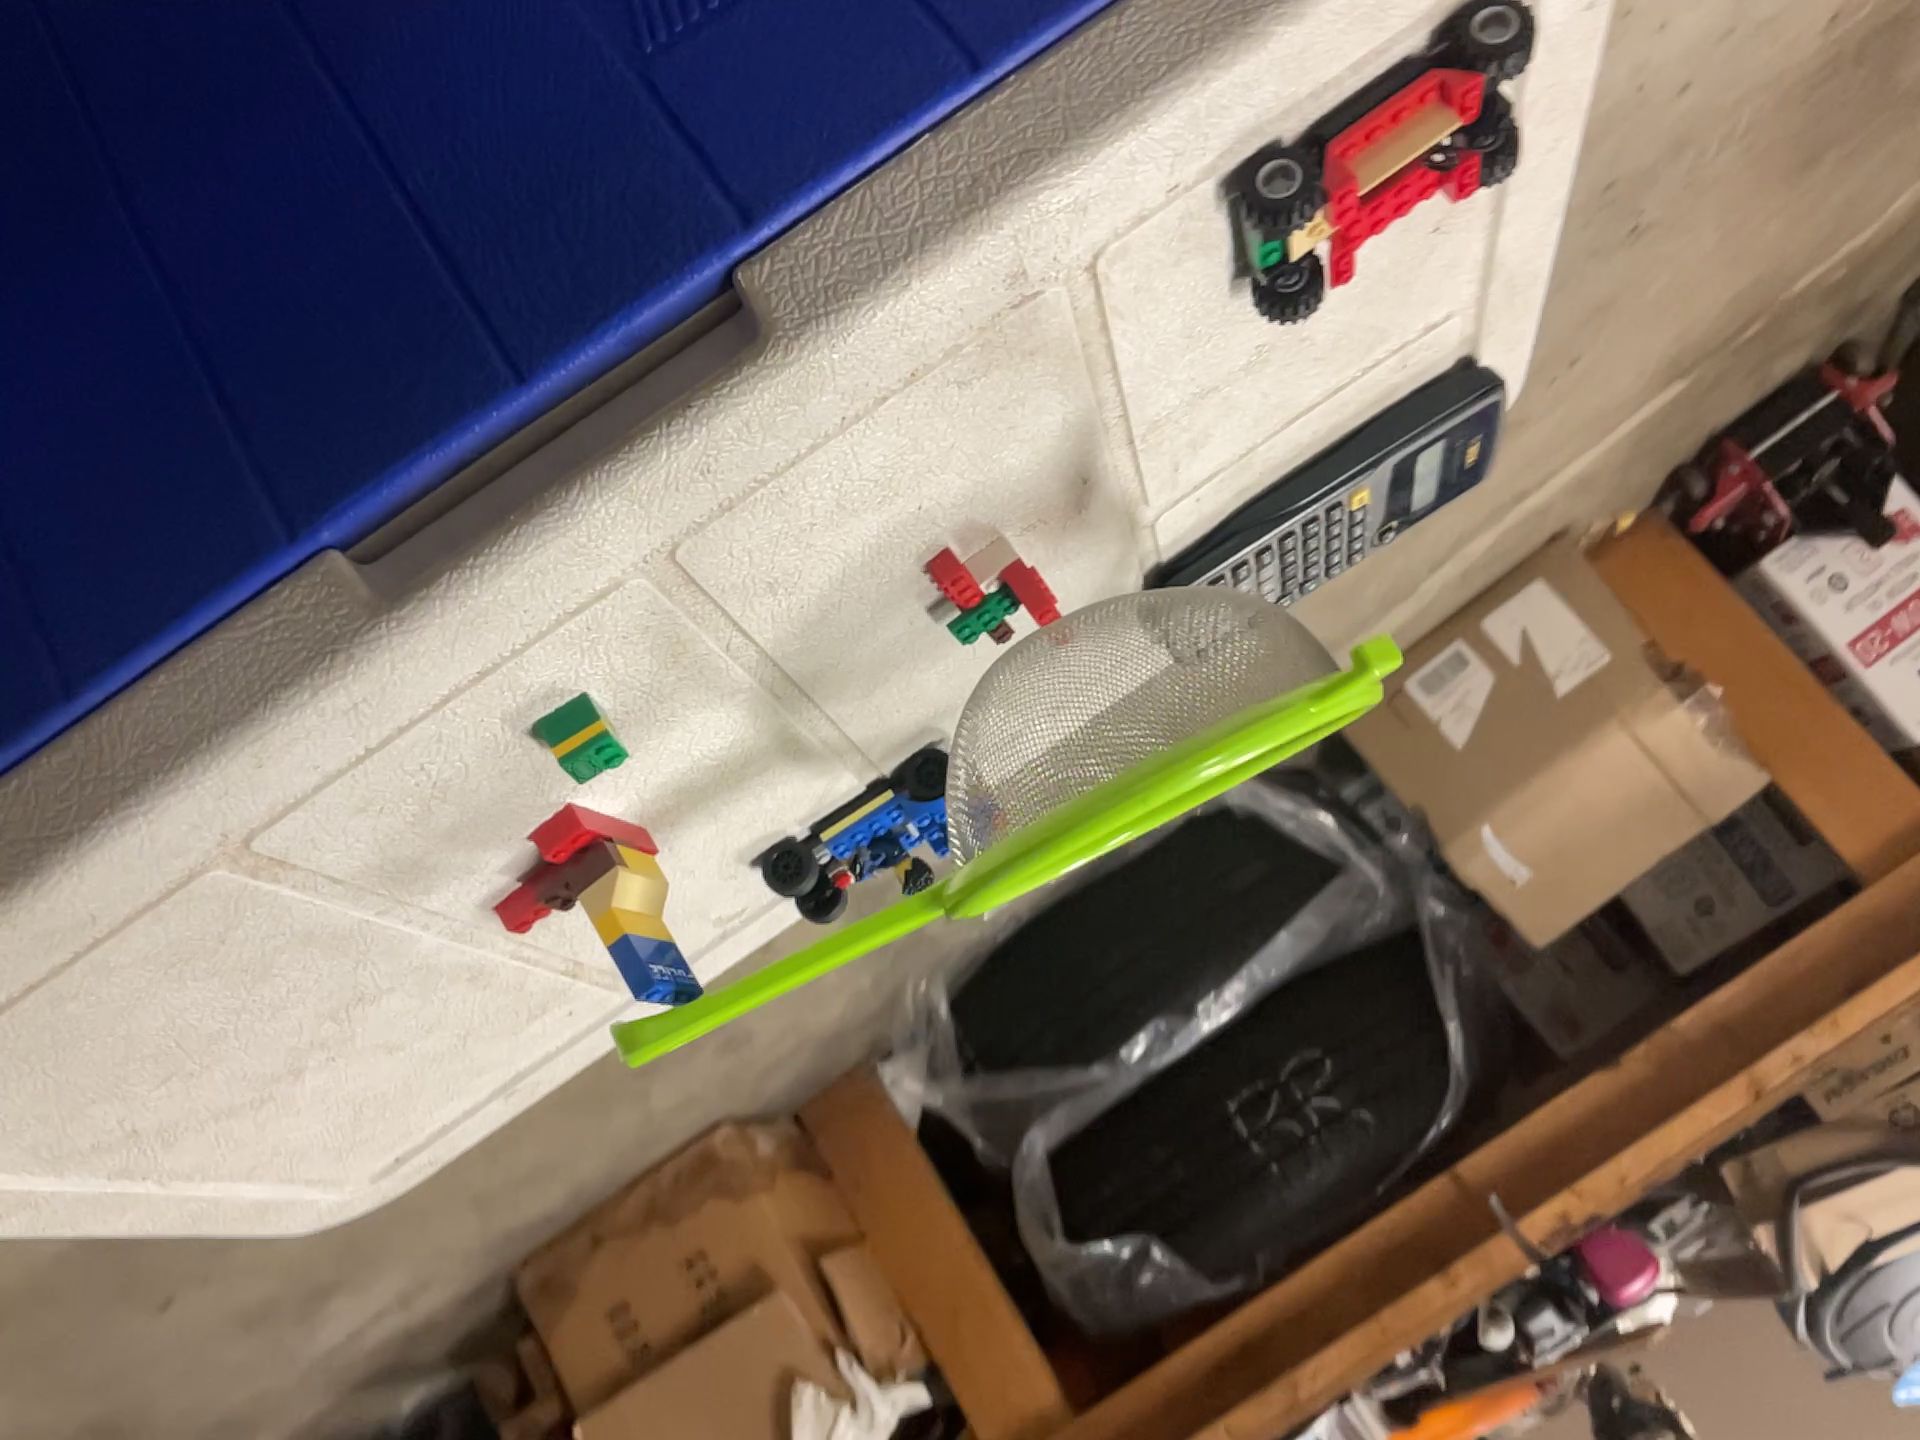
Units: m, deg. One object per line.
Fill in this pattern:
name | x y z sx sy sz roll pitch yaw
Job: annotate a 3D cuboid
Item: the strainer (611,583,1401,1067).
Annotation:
strainer | 0.001 0.024 0.497 0.256 0.069 0.151 -26 172 -2
